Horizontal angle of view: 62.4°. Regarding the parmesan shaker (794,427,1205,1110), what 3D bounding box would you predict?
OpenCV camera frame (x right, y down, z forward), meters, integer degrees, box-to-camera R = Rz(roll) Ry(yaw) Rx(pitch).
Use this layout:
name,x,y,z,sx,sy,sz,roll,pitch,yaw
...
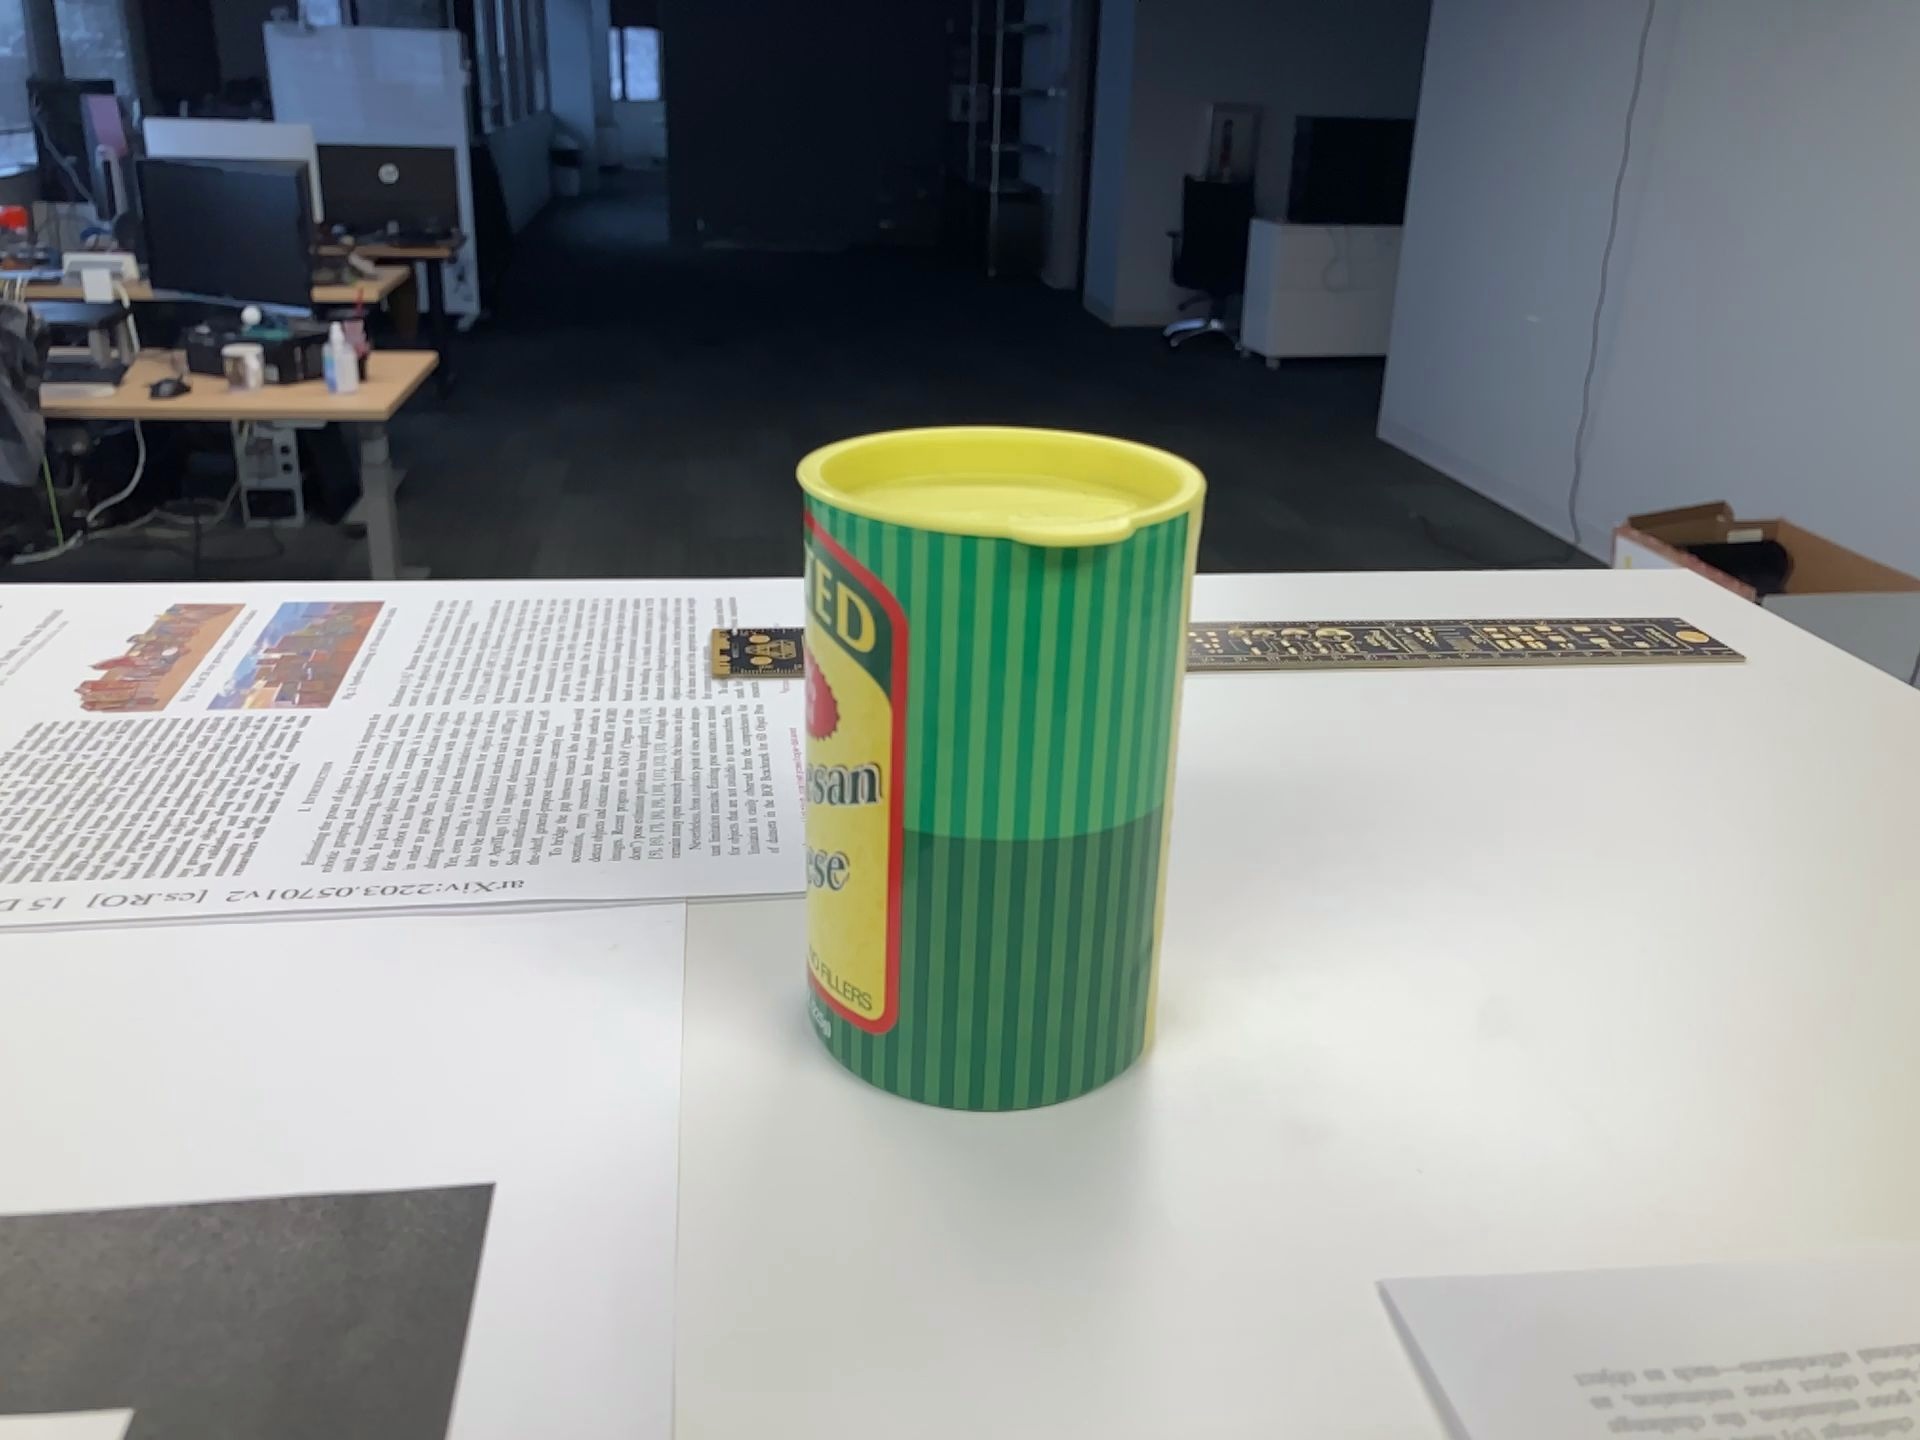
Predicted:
name,x,y,z,sx,sy,sz,roll,pitch,yaw
parmesan shaker,0.005,0.008,0.273,0.071,0.103,0.071,2,21,-1
